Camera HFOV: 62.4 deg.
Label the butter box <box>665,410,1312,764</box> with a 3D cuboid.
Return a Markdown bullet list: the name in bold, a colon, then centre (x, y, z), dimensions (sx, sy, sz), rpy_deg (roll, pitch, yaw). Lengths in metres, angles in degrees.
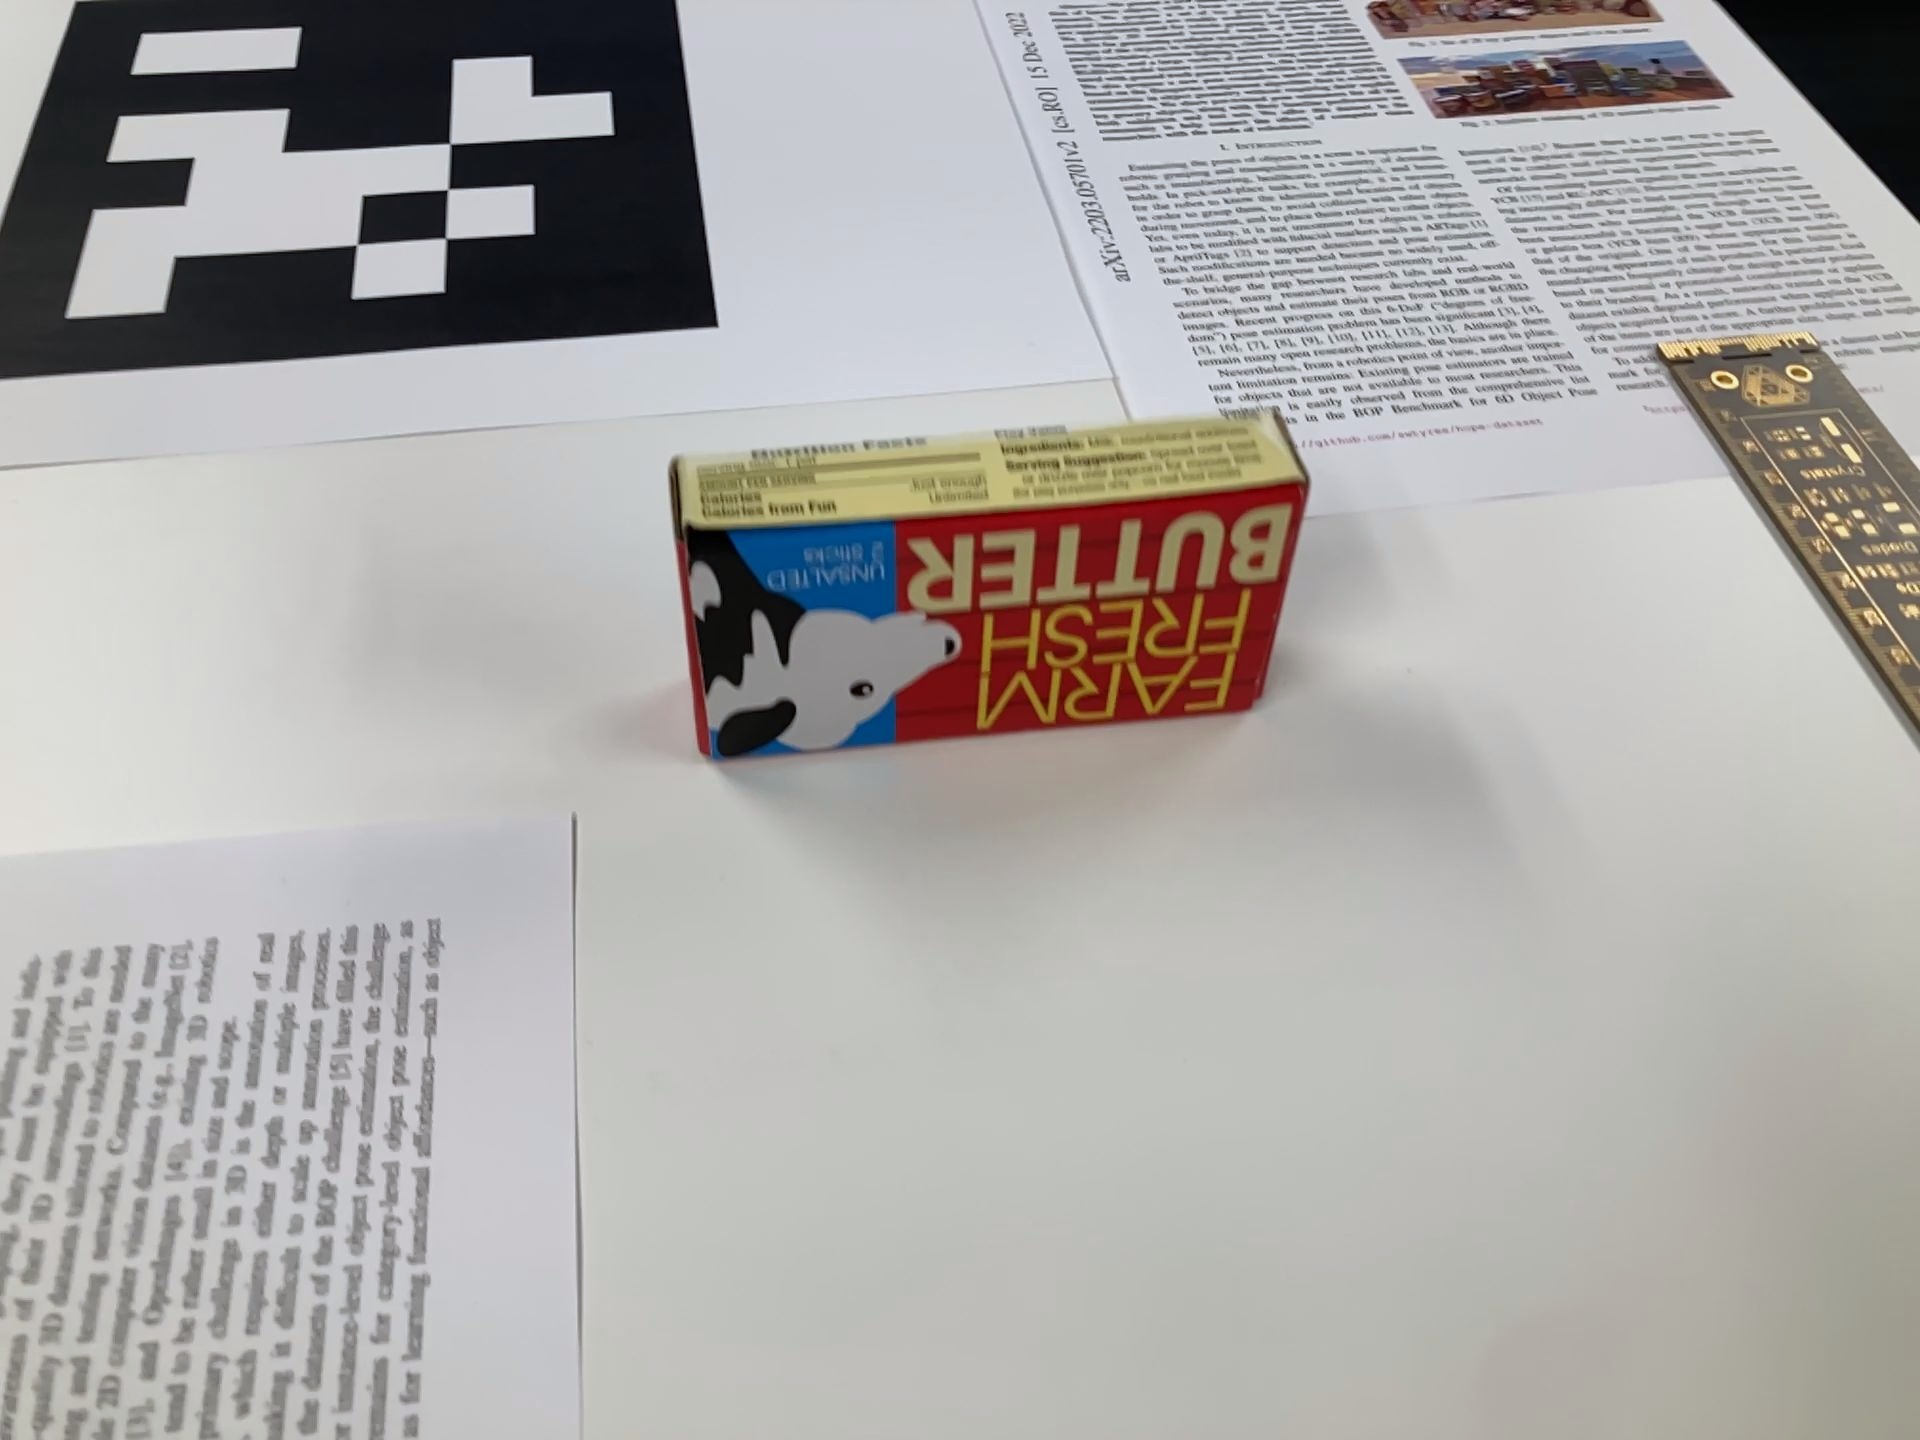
- **butter box**: centre (0.005, -0.022, 0.270), dimensions (0.103, 0.053, 0.024), rpy_deg (-6, 49, -8)
